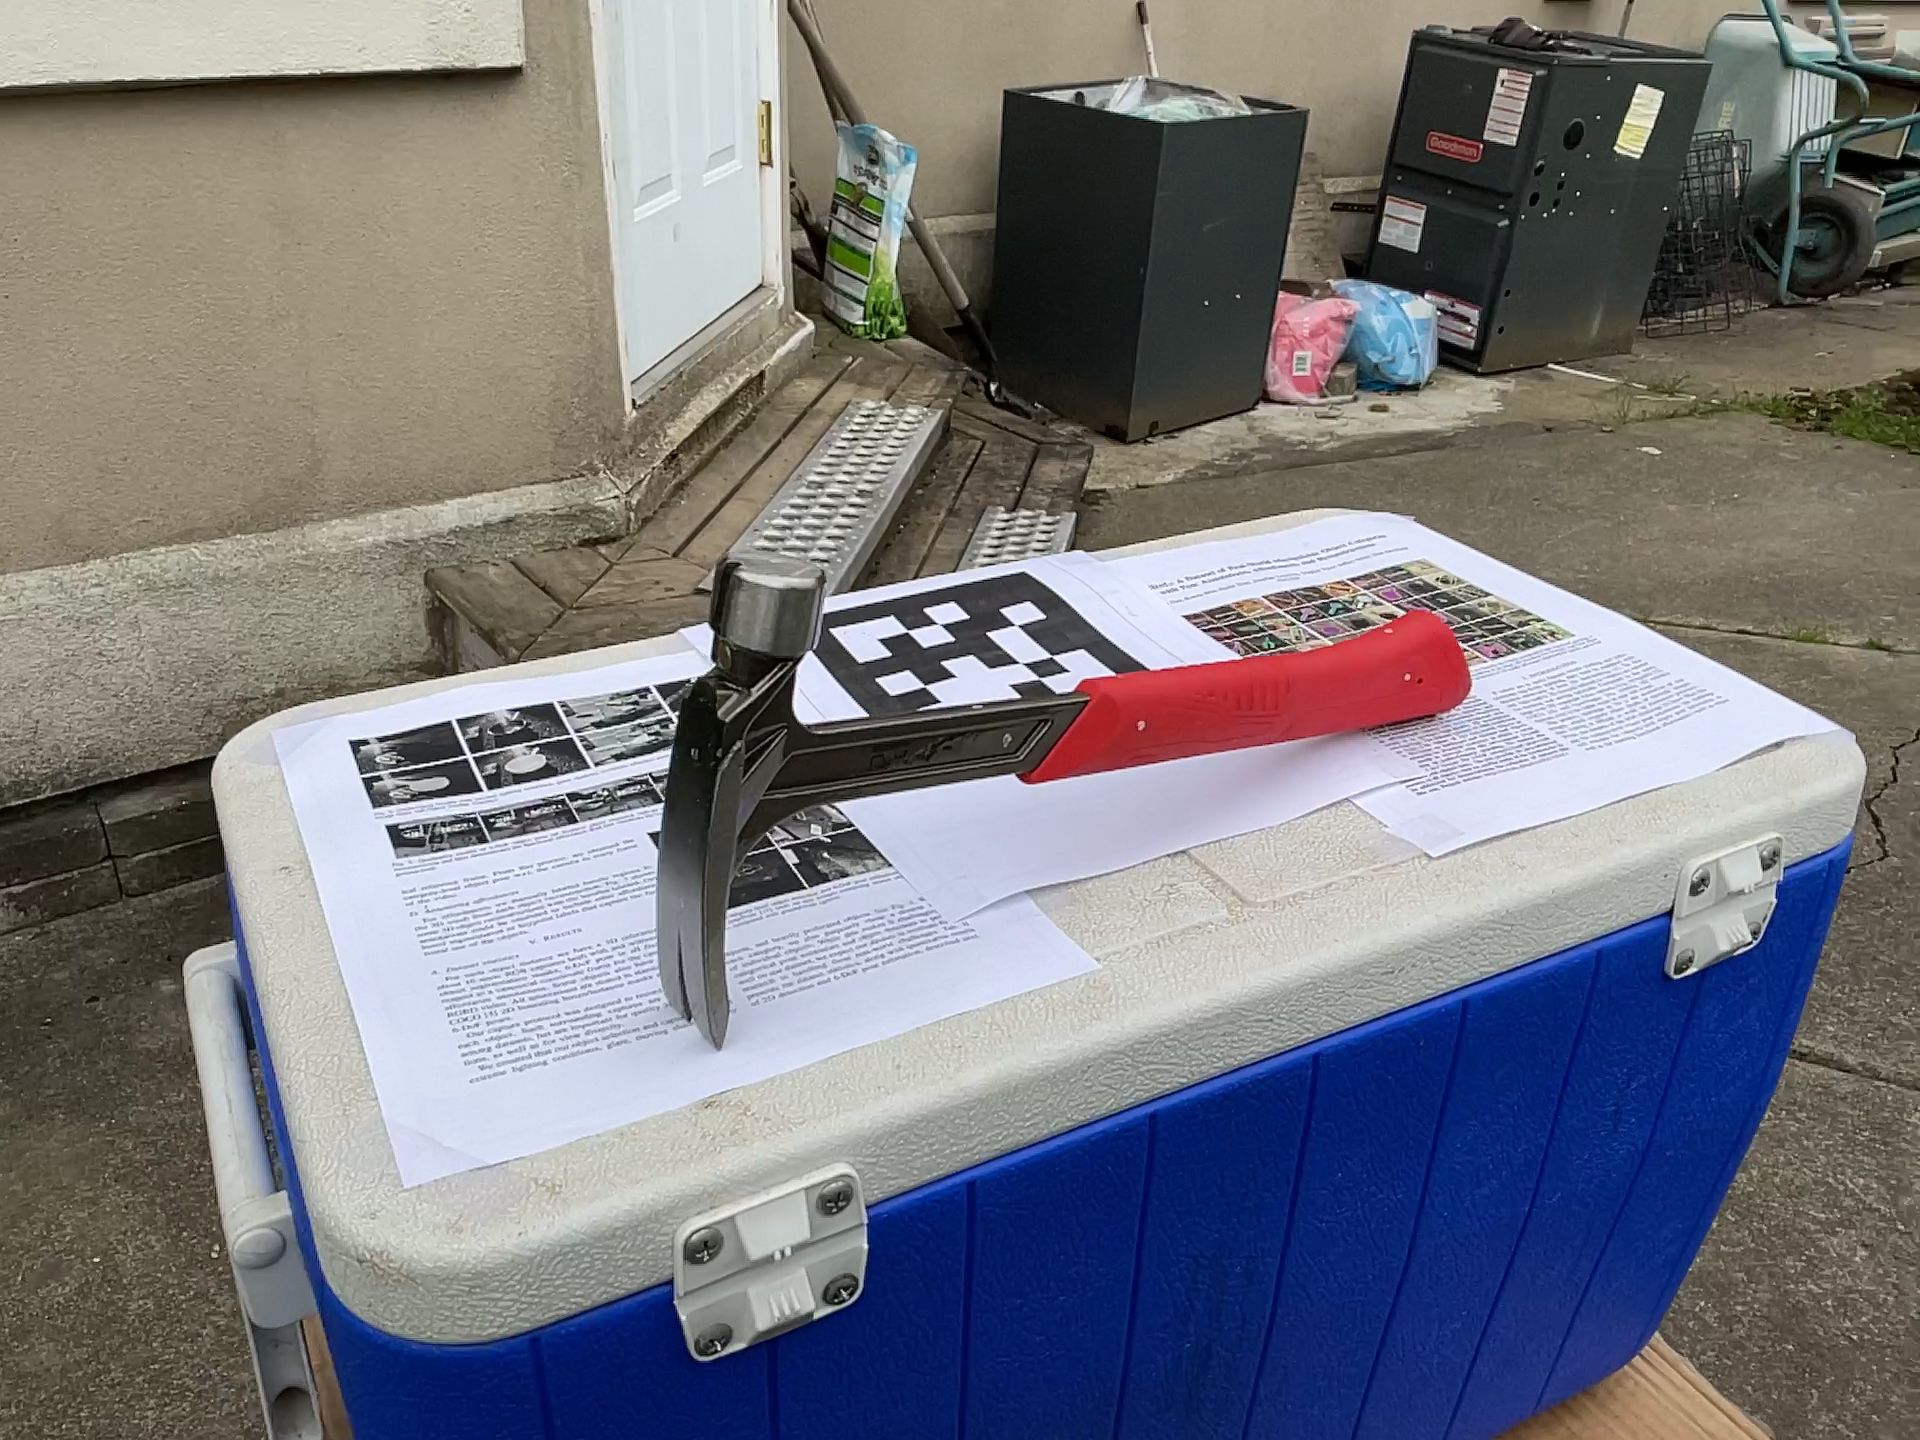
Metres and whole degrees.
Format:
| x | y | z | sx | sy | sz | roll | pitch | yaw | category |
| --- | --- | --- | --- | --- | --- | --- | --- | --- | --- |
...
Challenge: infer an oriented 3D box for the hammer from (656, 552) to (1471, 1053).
| x | y | z | sx | sy | sz | roll | pitch | yaw | category |
| --- | --- | --- | --- | --- | --- | --- | --- | --- | --- |
| 0.060 | 0.010 | 0.566 | 0.359 | 0.149 | 0.037 | -7 | 26 | -39 | hammer |
